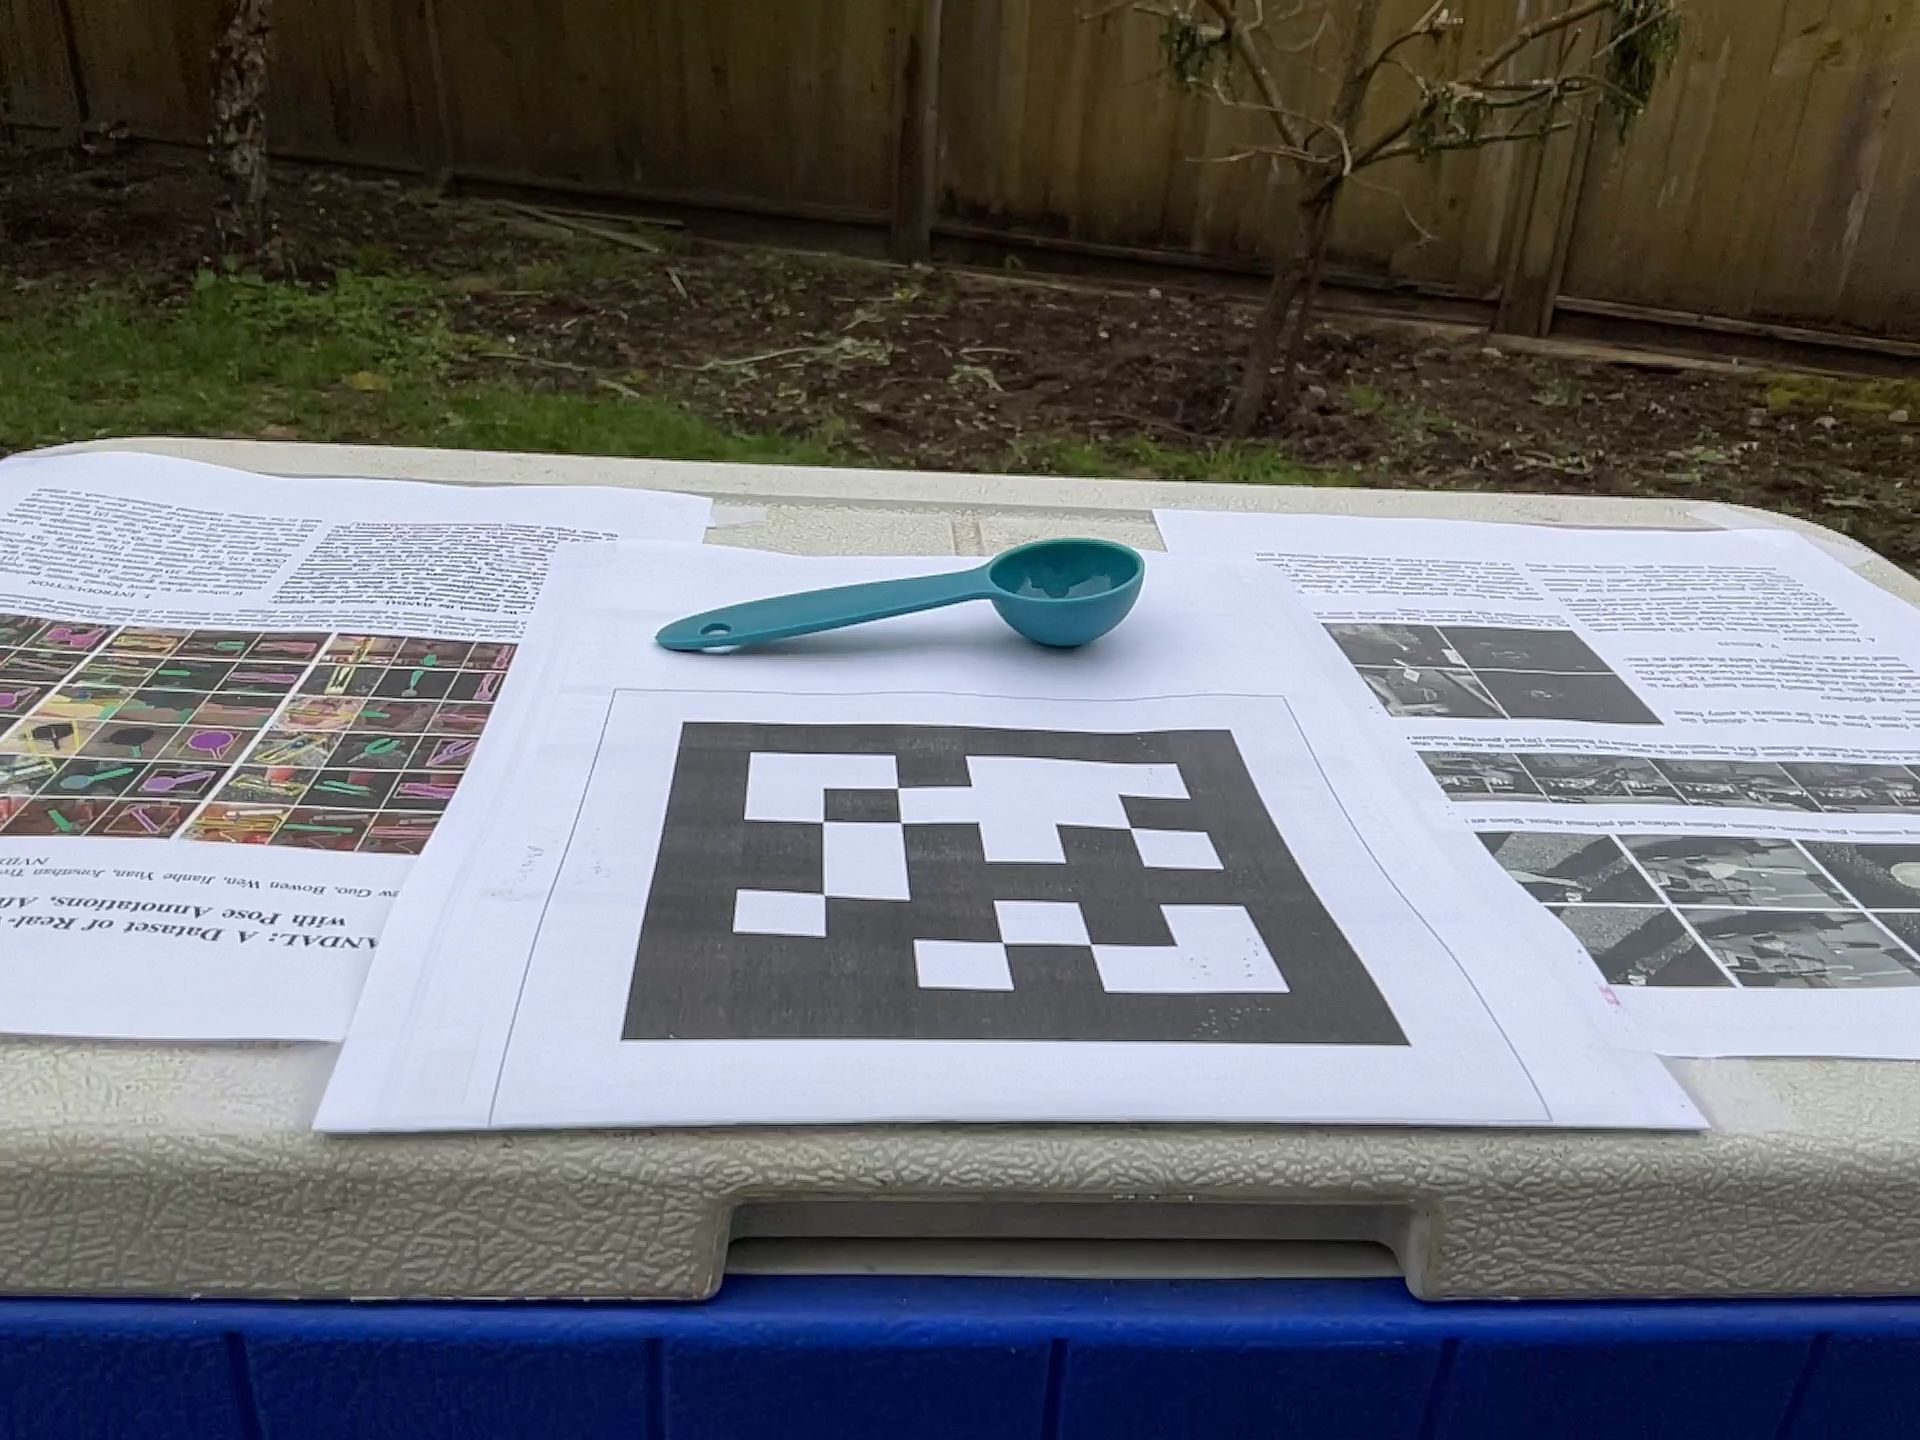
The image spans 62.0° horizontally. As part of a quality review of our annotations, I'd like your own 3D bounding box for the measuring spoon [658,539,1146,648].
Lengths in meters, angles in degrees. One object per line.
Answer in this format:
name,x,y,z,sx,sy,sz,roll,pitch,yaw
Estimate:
measuring spoon,-0.014,-0.025,0.422,0.128,0.021,0.042,-9,28,-4
